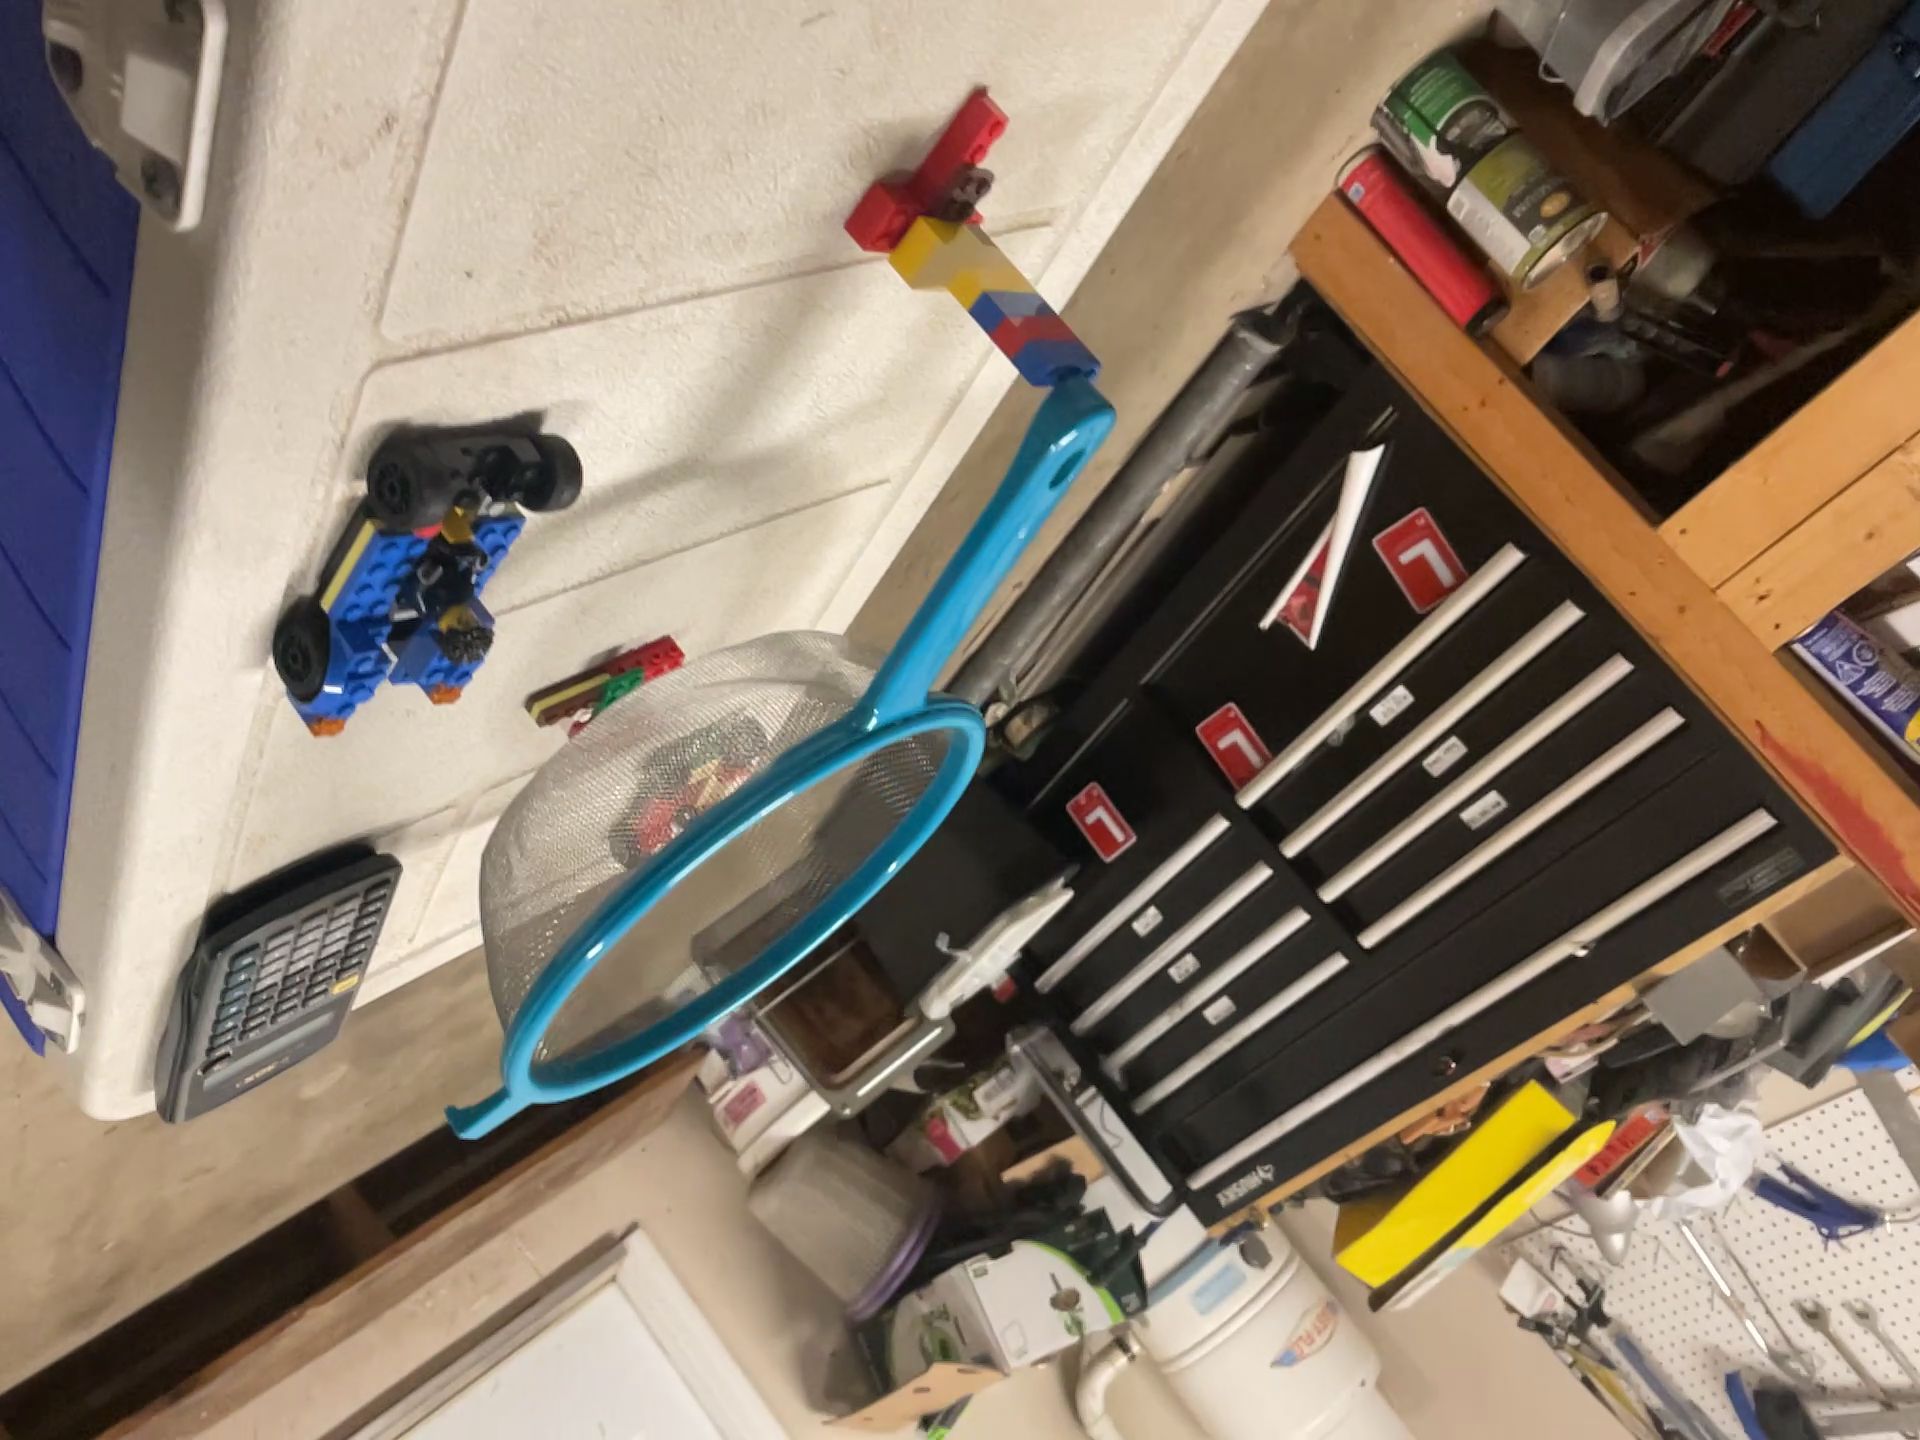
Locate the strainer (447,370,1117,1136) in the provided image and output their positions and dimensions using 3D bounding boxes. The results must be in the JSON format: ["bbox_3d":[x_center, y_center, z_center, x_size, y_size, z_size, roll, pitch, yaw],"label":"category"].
[{"bbox_3d":[-0.067,-0.005,0.548,0.211,0.095,0.340,-23,155,-50],"label":"strainer"}]
